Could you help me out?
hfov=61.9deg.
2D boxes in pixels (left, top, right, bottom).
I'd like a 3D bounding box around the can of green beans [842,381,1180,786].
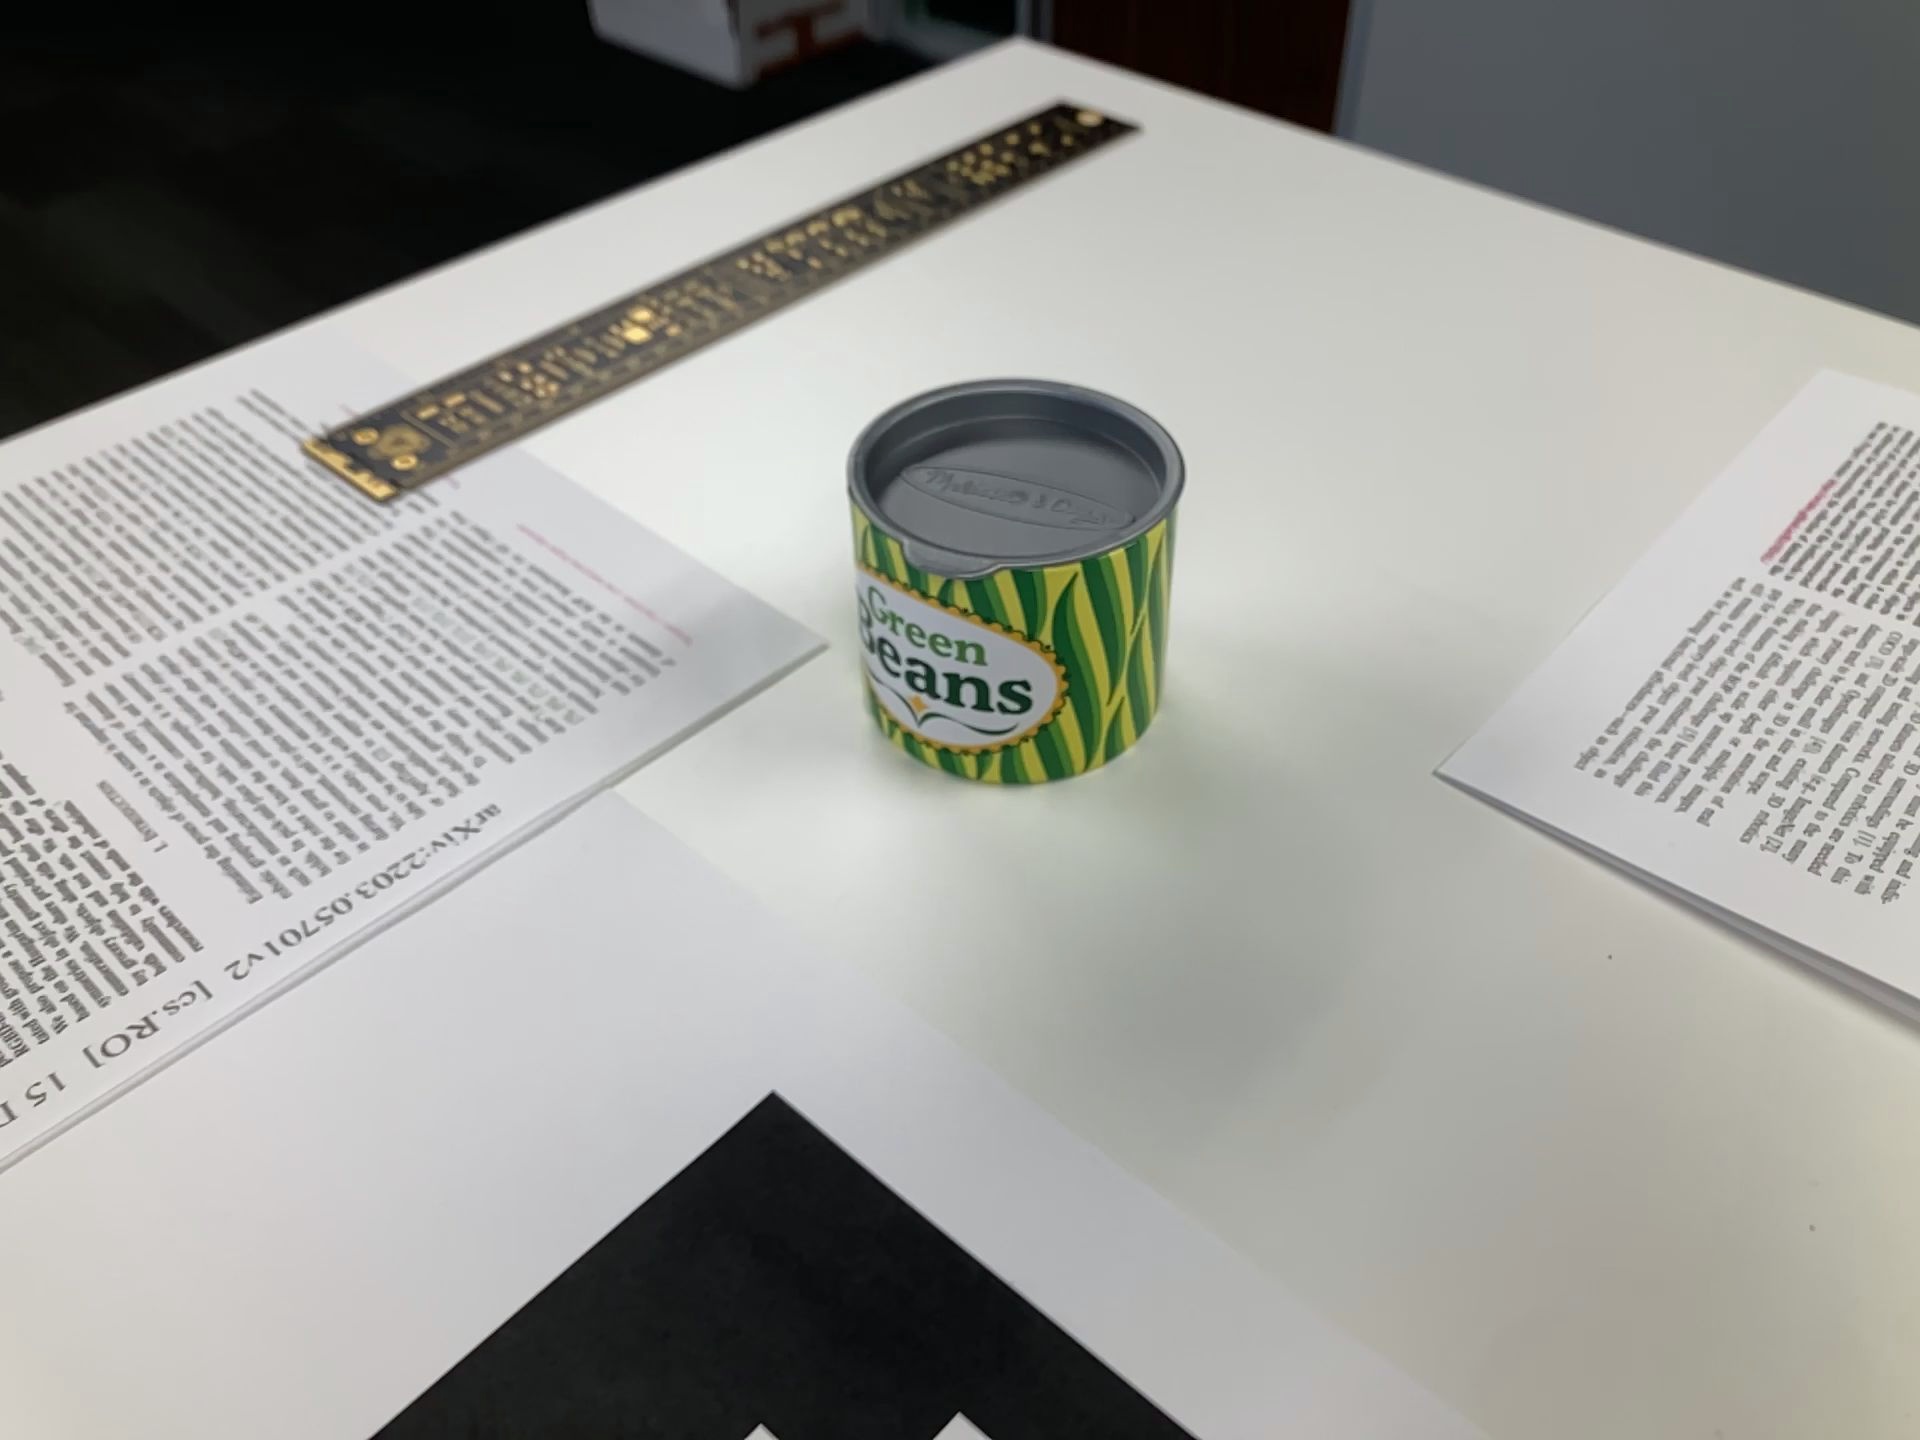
[{"bbox_3d":[0.010,-0.029,0.333,0.071,0.058,0.071,0,41,0],"label":"can of green beans"}]
